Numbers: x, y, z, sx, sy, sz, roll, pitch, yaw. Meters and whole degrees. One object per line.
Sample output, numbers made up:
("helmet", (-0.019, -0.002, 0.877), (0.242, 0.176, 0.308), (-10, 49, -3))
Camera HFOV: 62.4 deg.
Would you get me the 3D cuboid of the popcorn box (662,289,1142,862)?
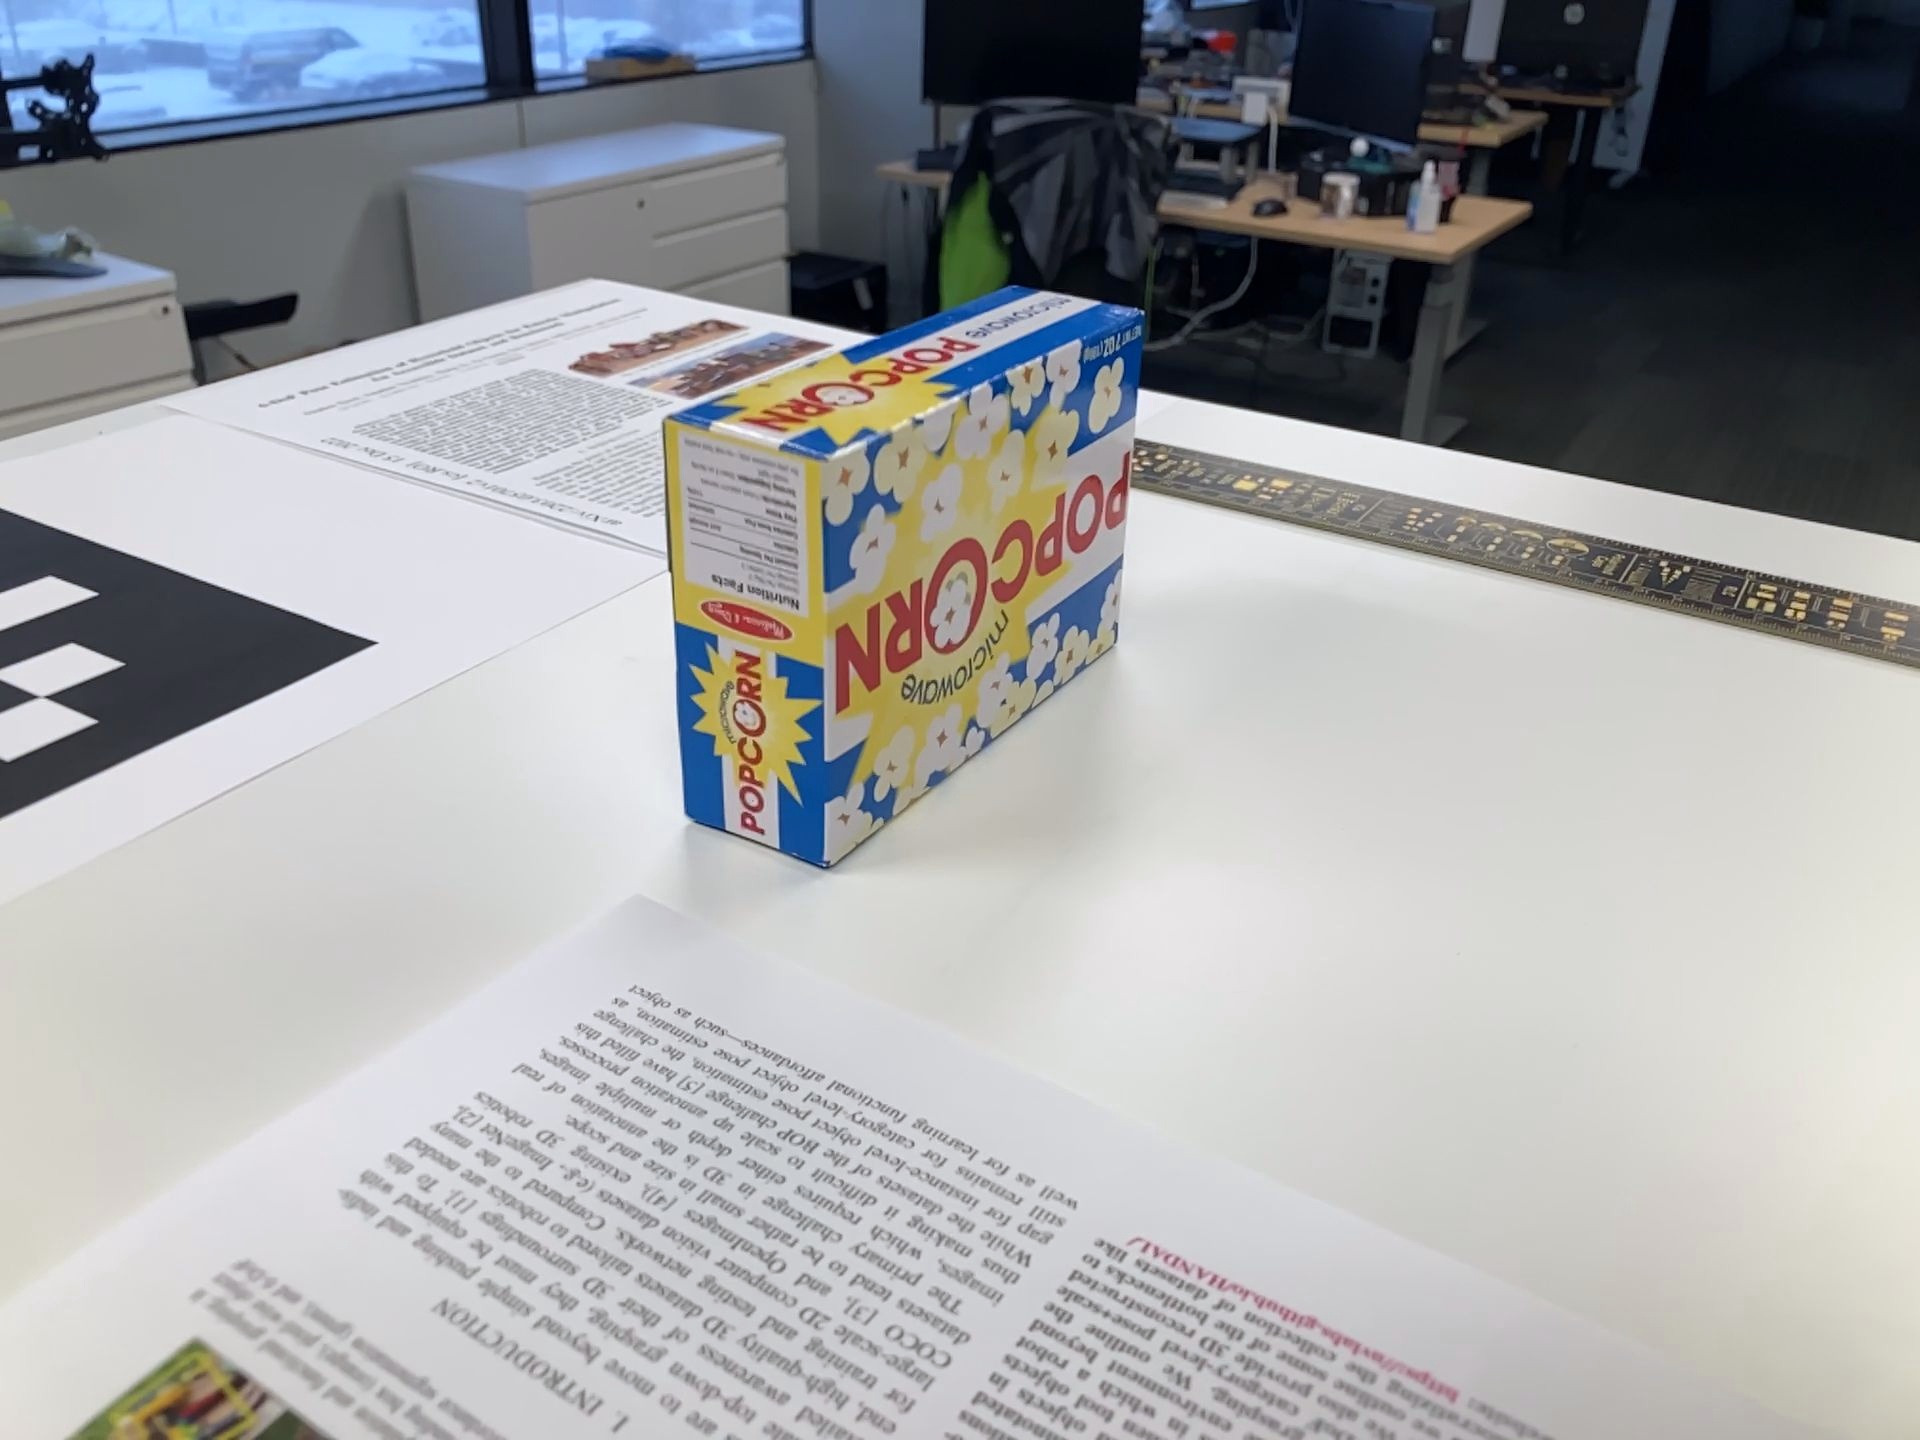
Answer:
("popcorn box", (-0.007, -0.037, 0.340), (0.038, 0.085, 0.126), (18, 32, 27))
